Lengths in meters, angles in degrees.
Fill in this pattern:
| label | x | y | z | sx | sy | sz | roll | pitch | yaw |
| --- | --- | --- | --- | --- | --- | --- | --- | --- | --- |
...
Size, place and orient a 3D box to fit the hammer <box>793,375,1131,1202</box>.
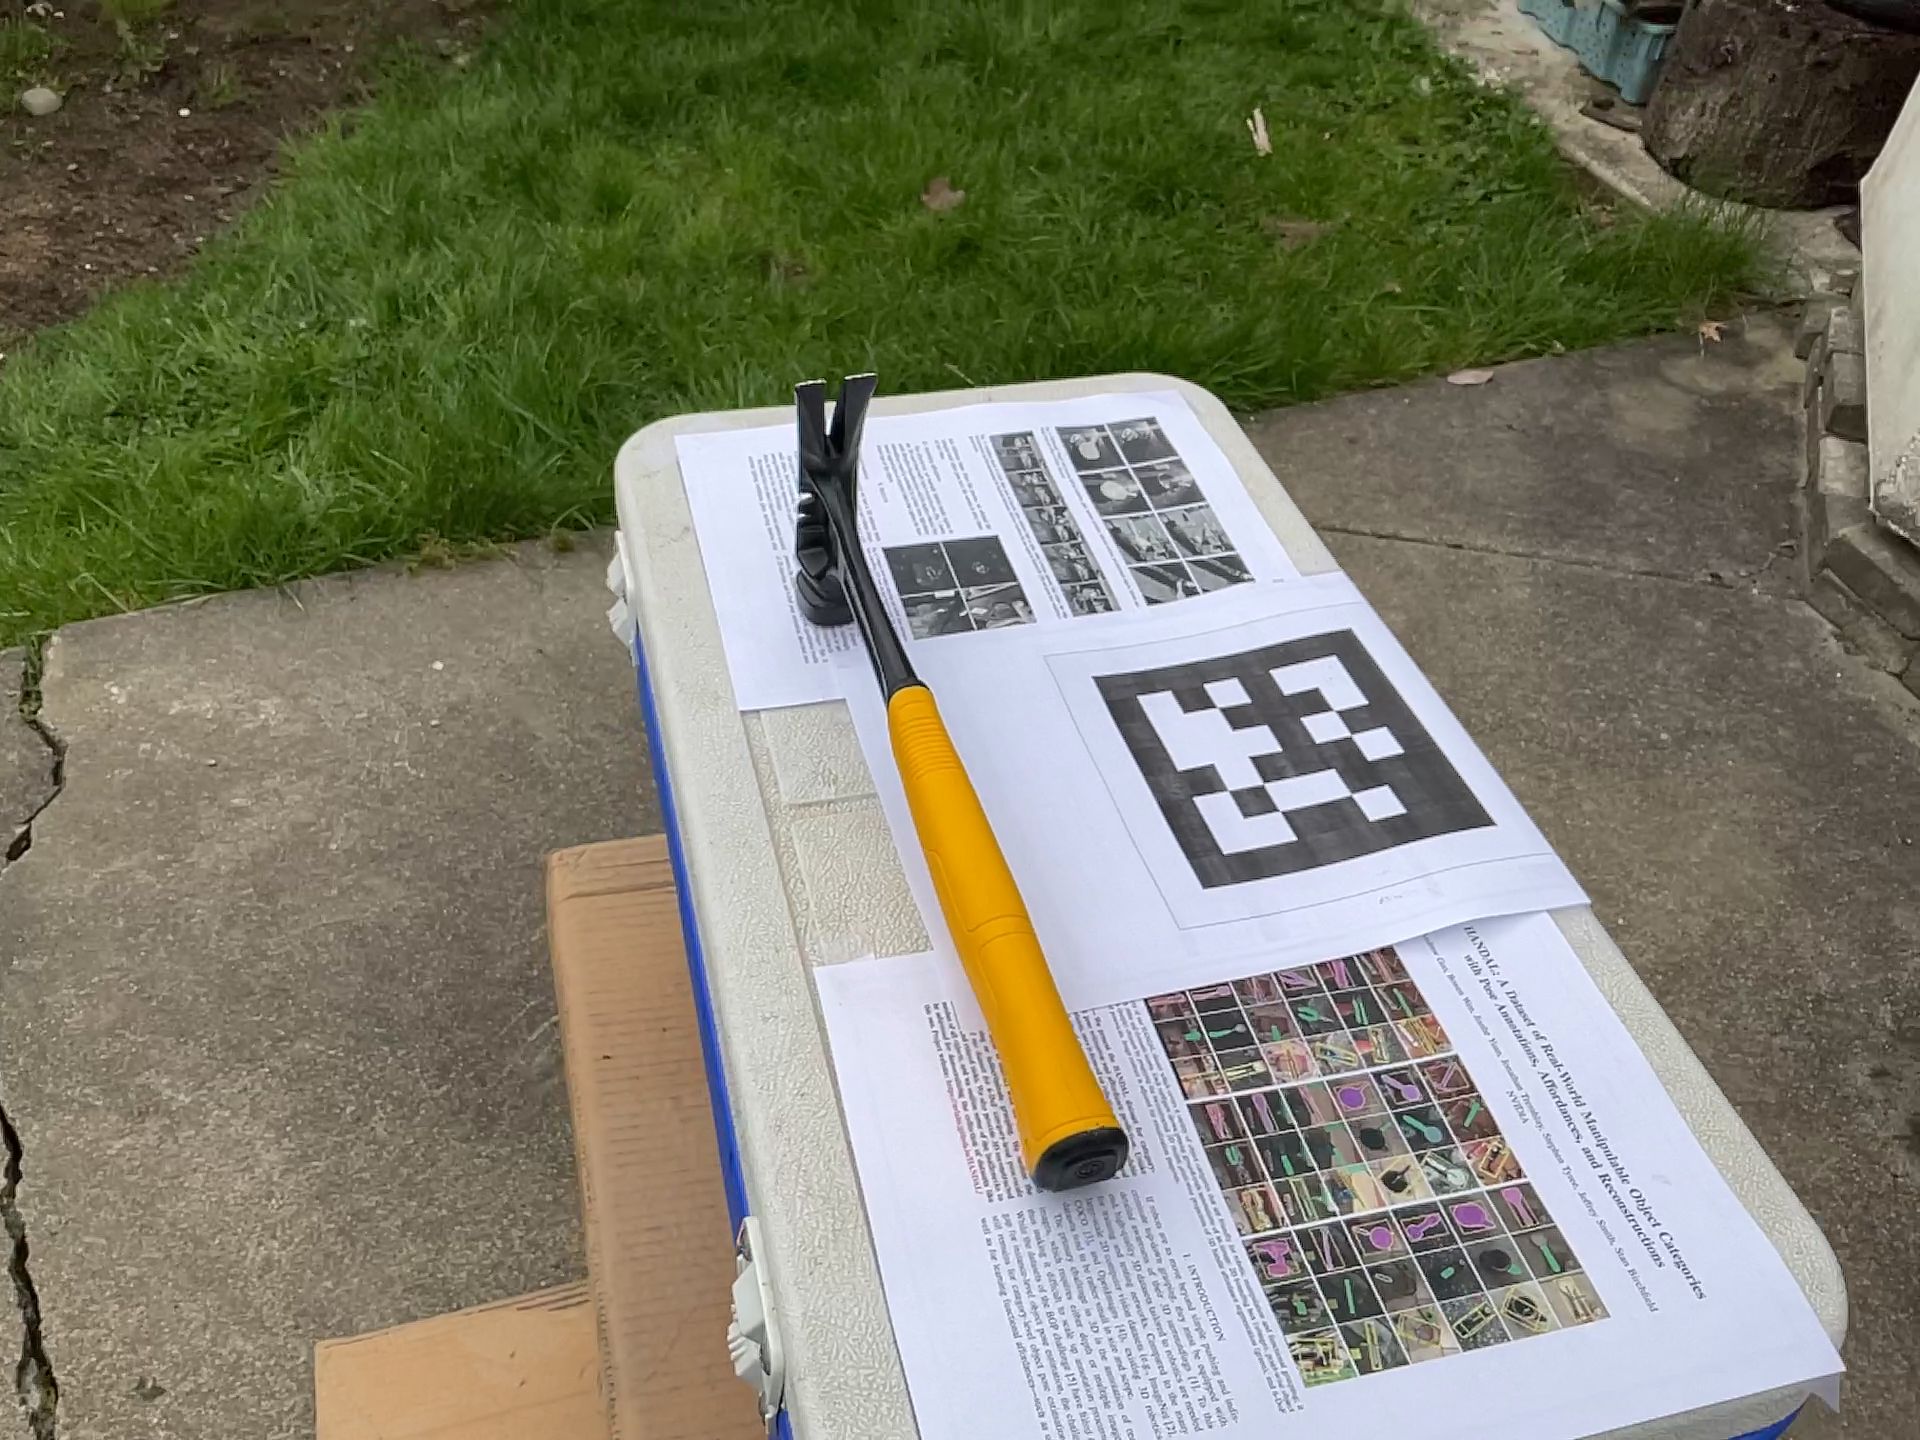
| label | x | y | z | sx | sy | sz | roll | pitch | yaw |
| --- | --- | --- | --- | --- | --- | --- | --- | --- | --- |
| hammer | -0.009 | 0.017 | 0.596 | 0.034 | 0.127 | 0.337 | -10 | 50 | -15 |
